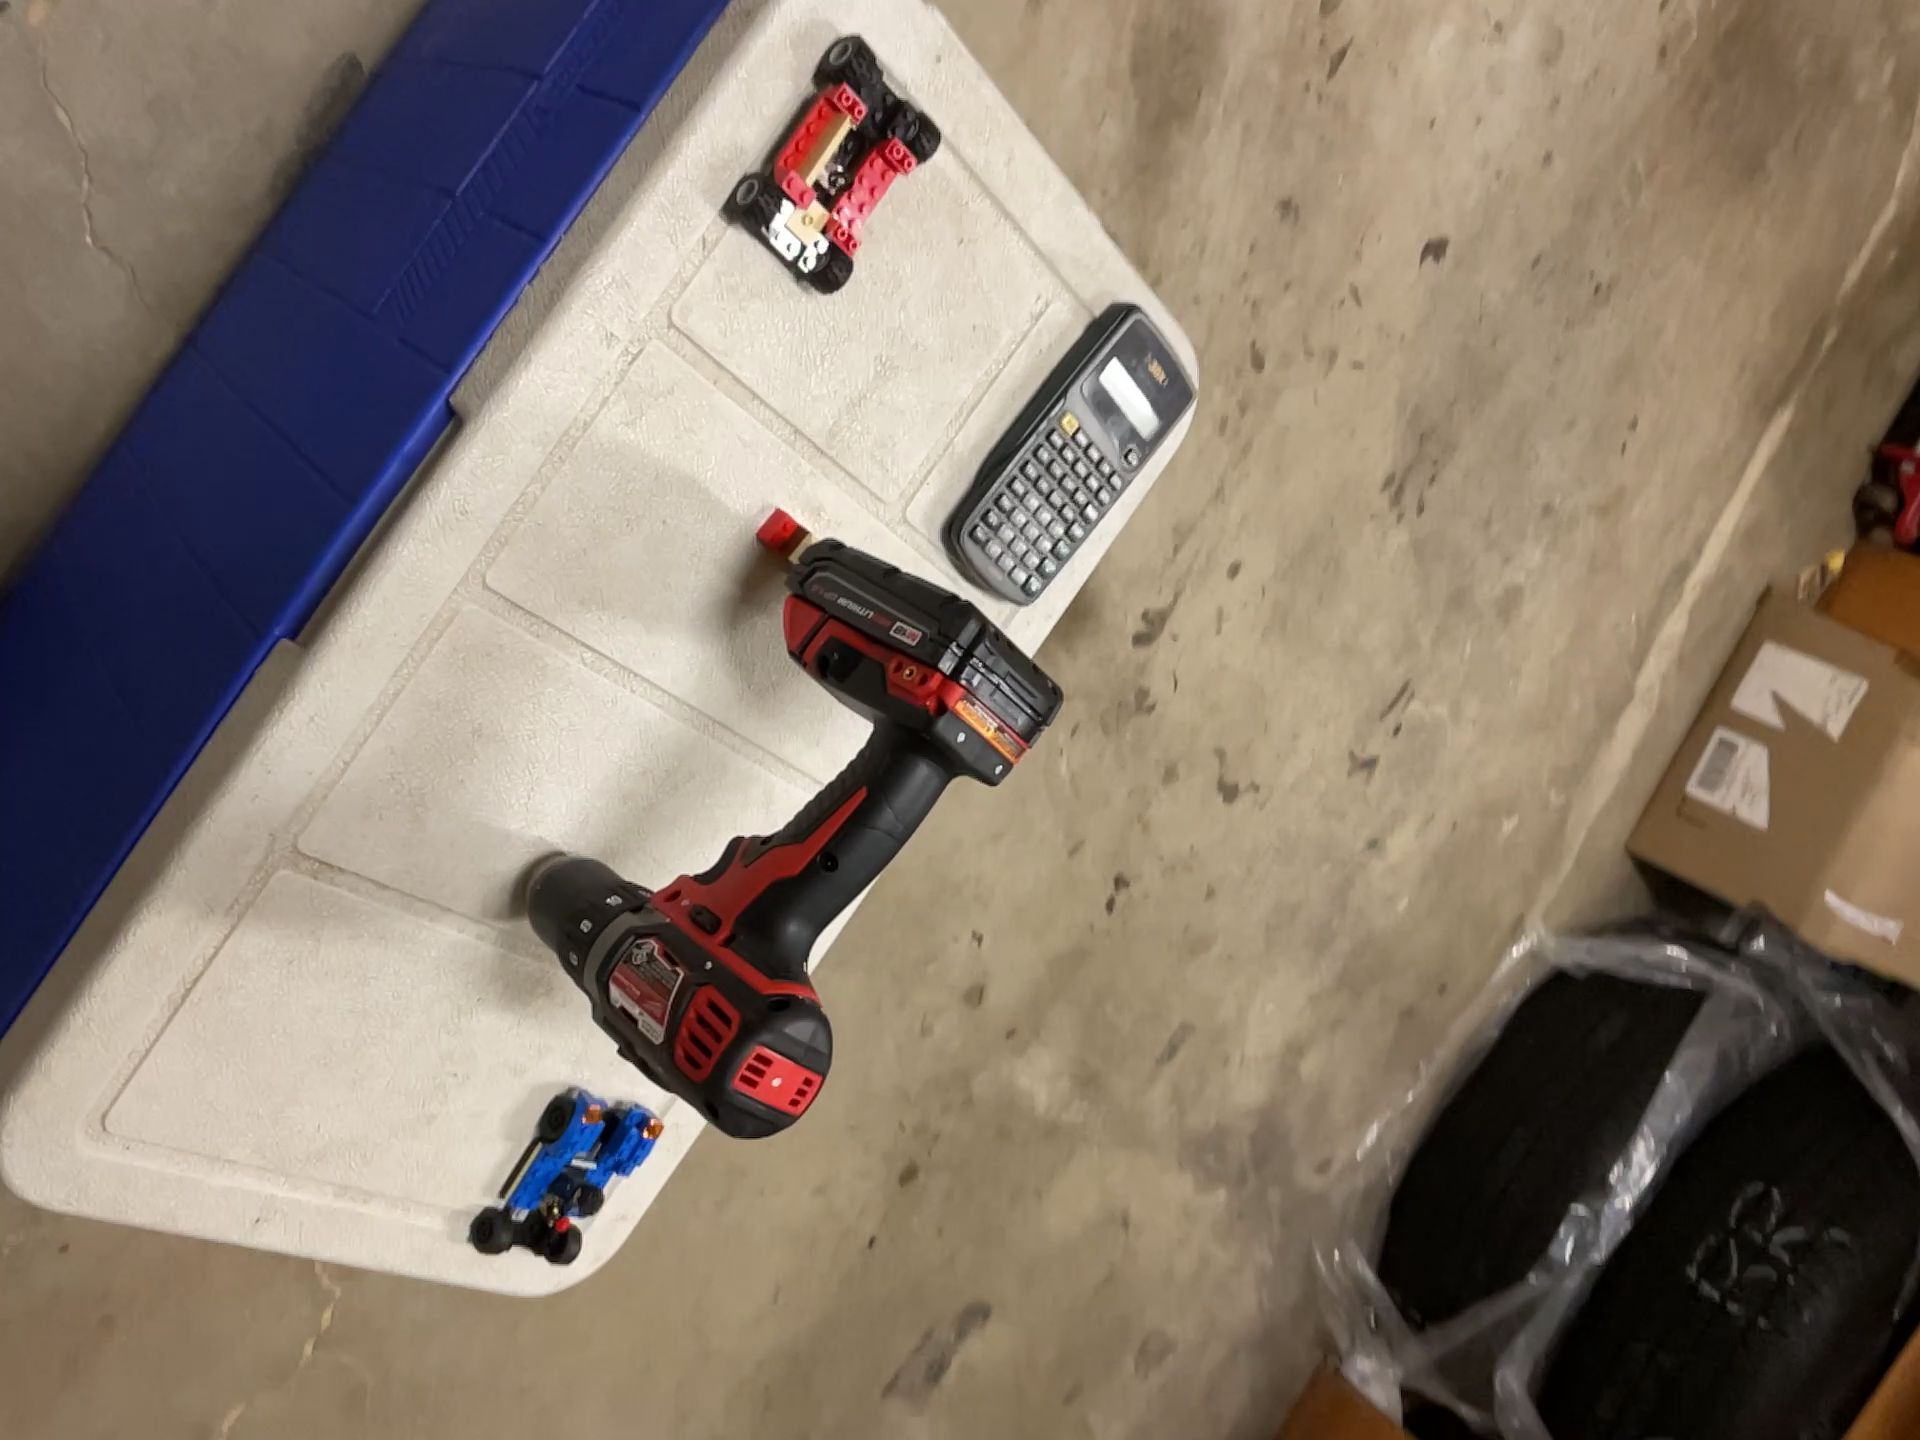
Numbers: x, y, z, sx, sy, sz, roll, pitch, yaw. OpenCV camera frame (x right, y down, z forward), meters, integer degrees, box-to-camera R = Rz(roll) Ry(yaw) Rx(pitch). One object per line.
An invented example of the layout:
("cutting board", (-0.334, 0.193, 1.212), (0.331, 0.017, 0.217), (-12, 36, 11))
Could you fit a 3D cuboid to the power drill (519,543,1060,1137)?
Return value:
("power drill", (-0.085, 0.041, 0.682), (0.227, 0.188, 0.080), (-56, 138, -7))
